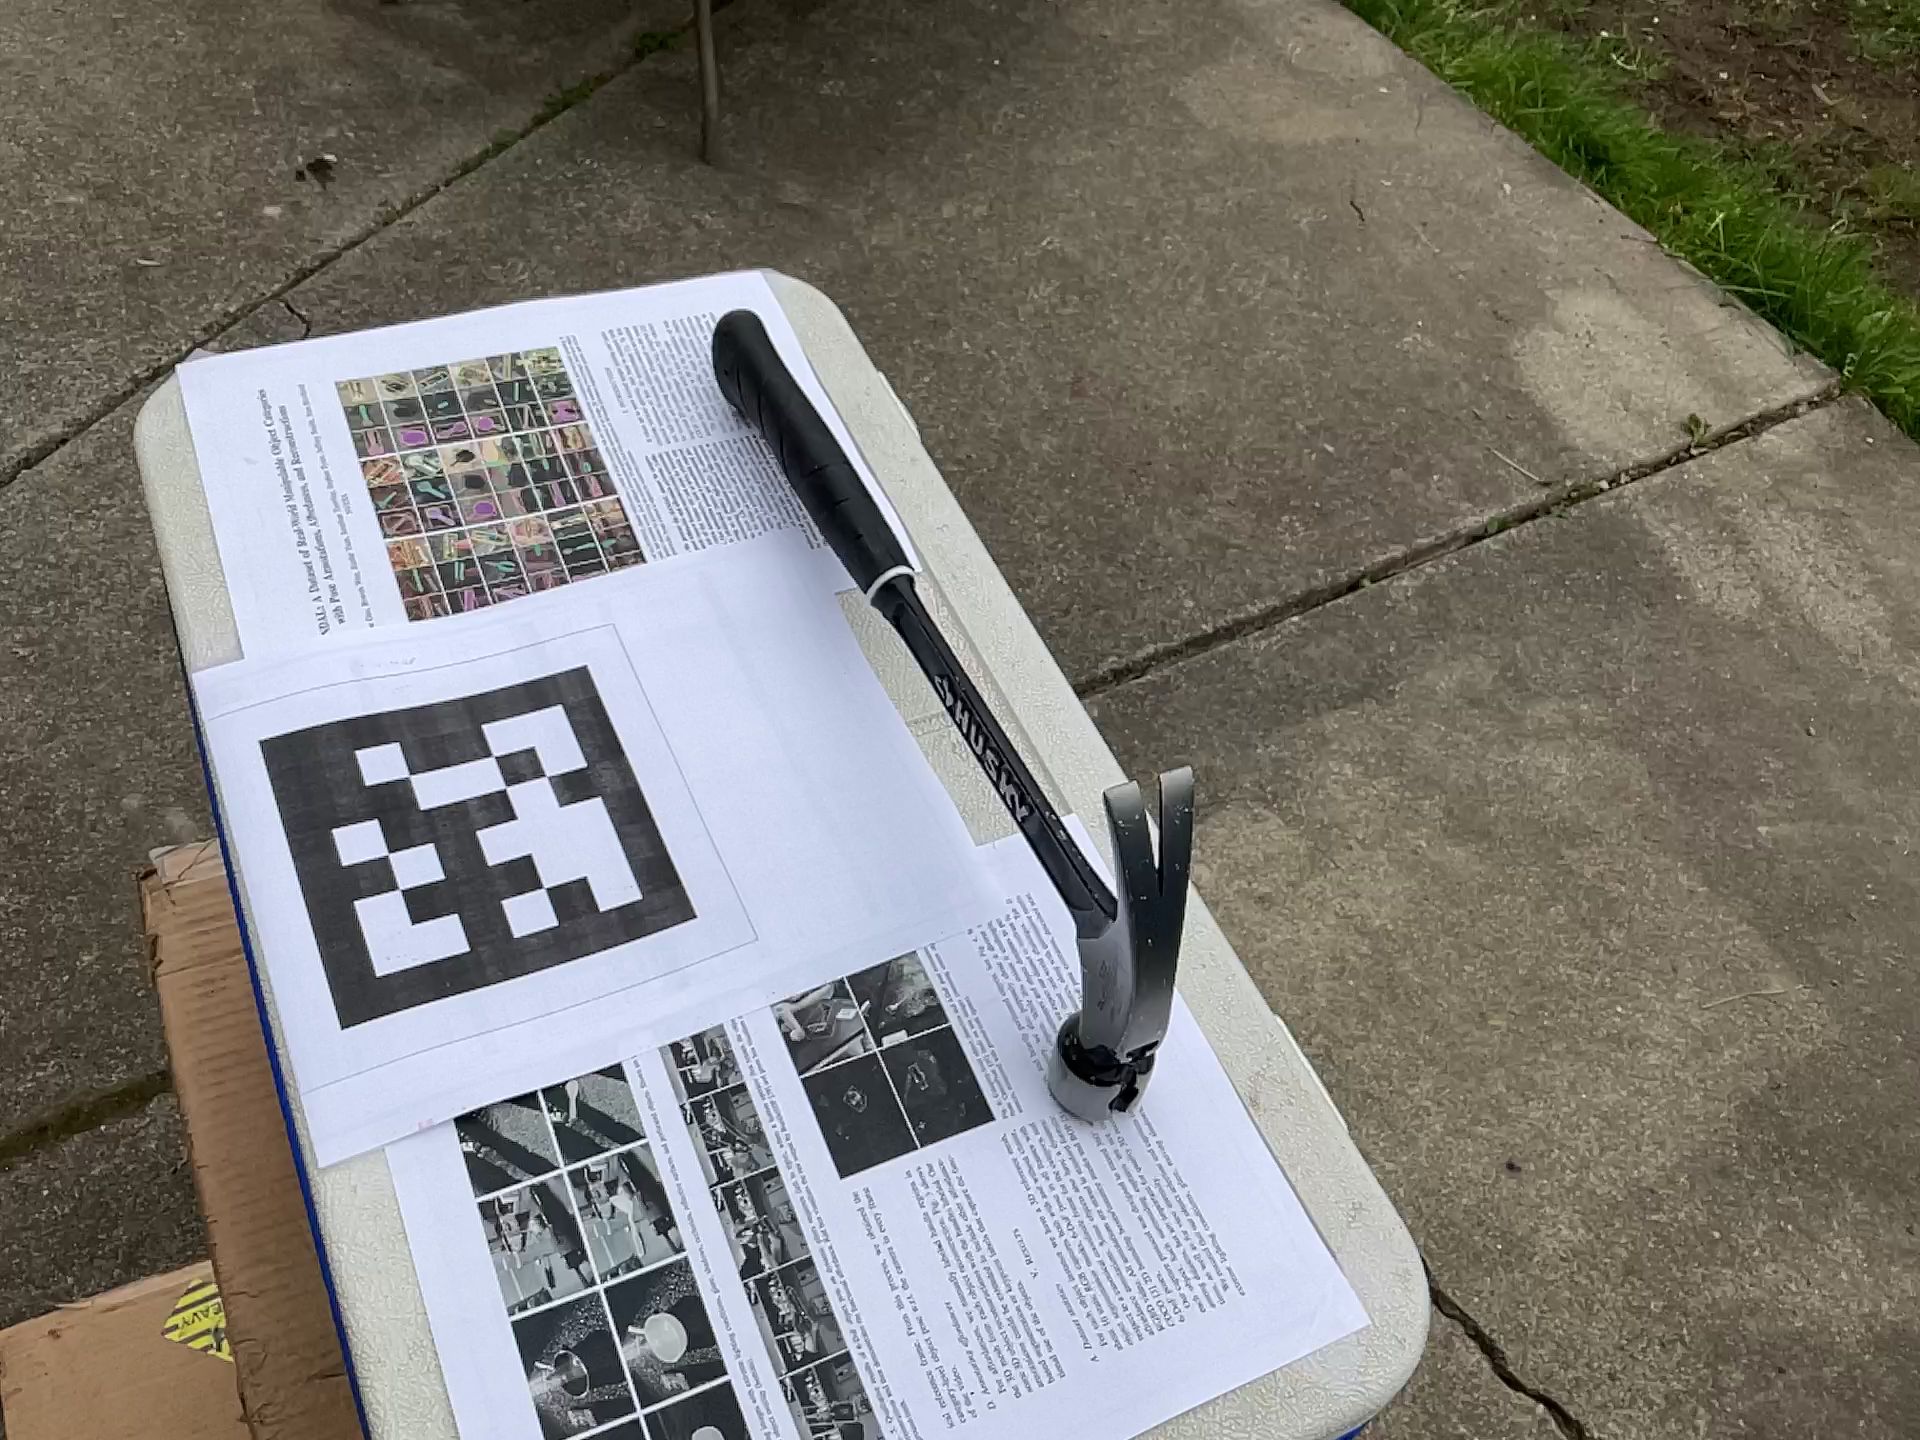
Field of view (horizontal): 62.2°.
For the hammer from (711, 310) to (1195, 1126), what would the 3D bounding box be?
[{"bbox_3d":[-0.022,-0.045,0.638,0.036,0.149,0.409,-15,50,-21],"label":"hammer"}]
